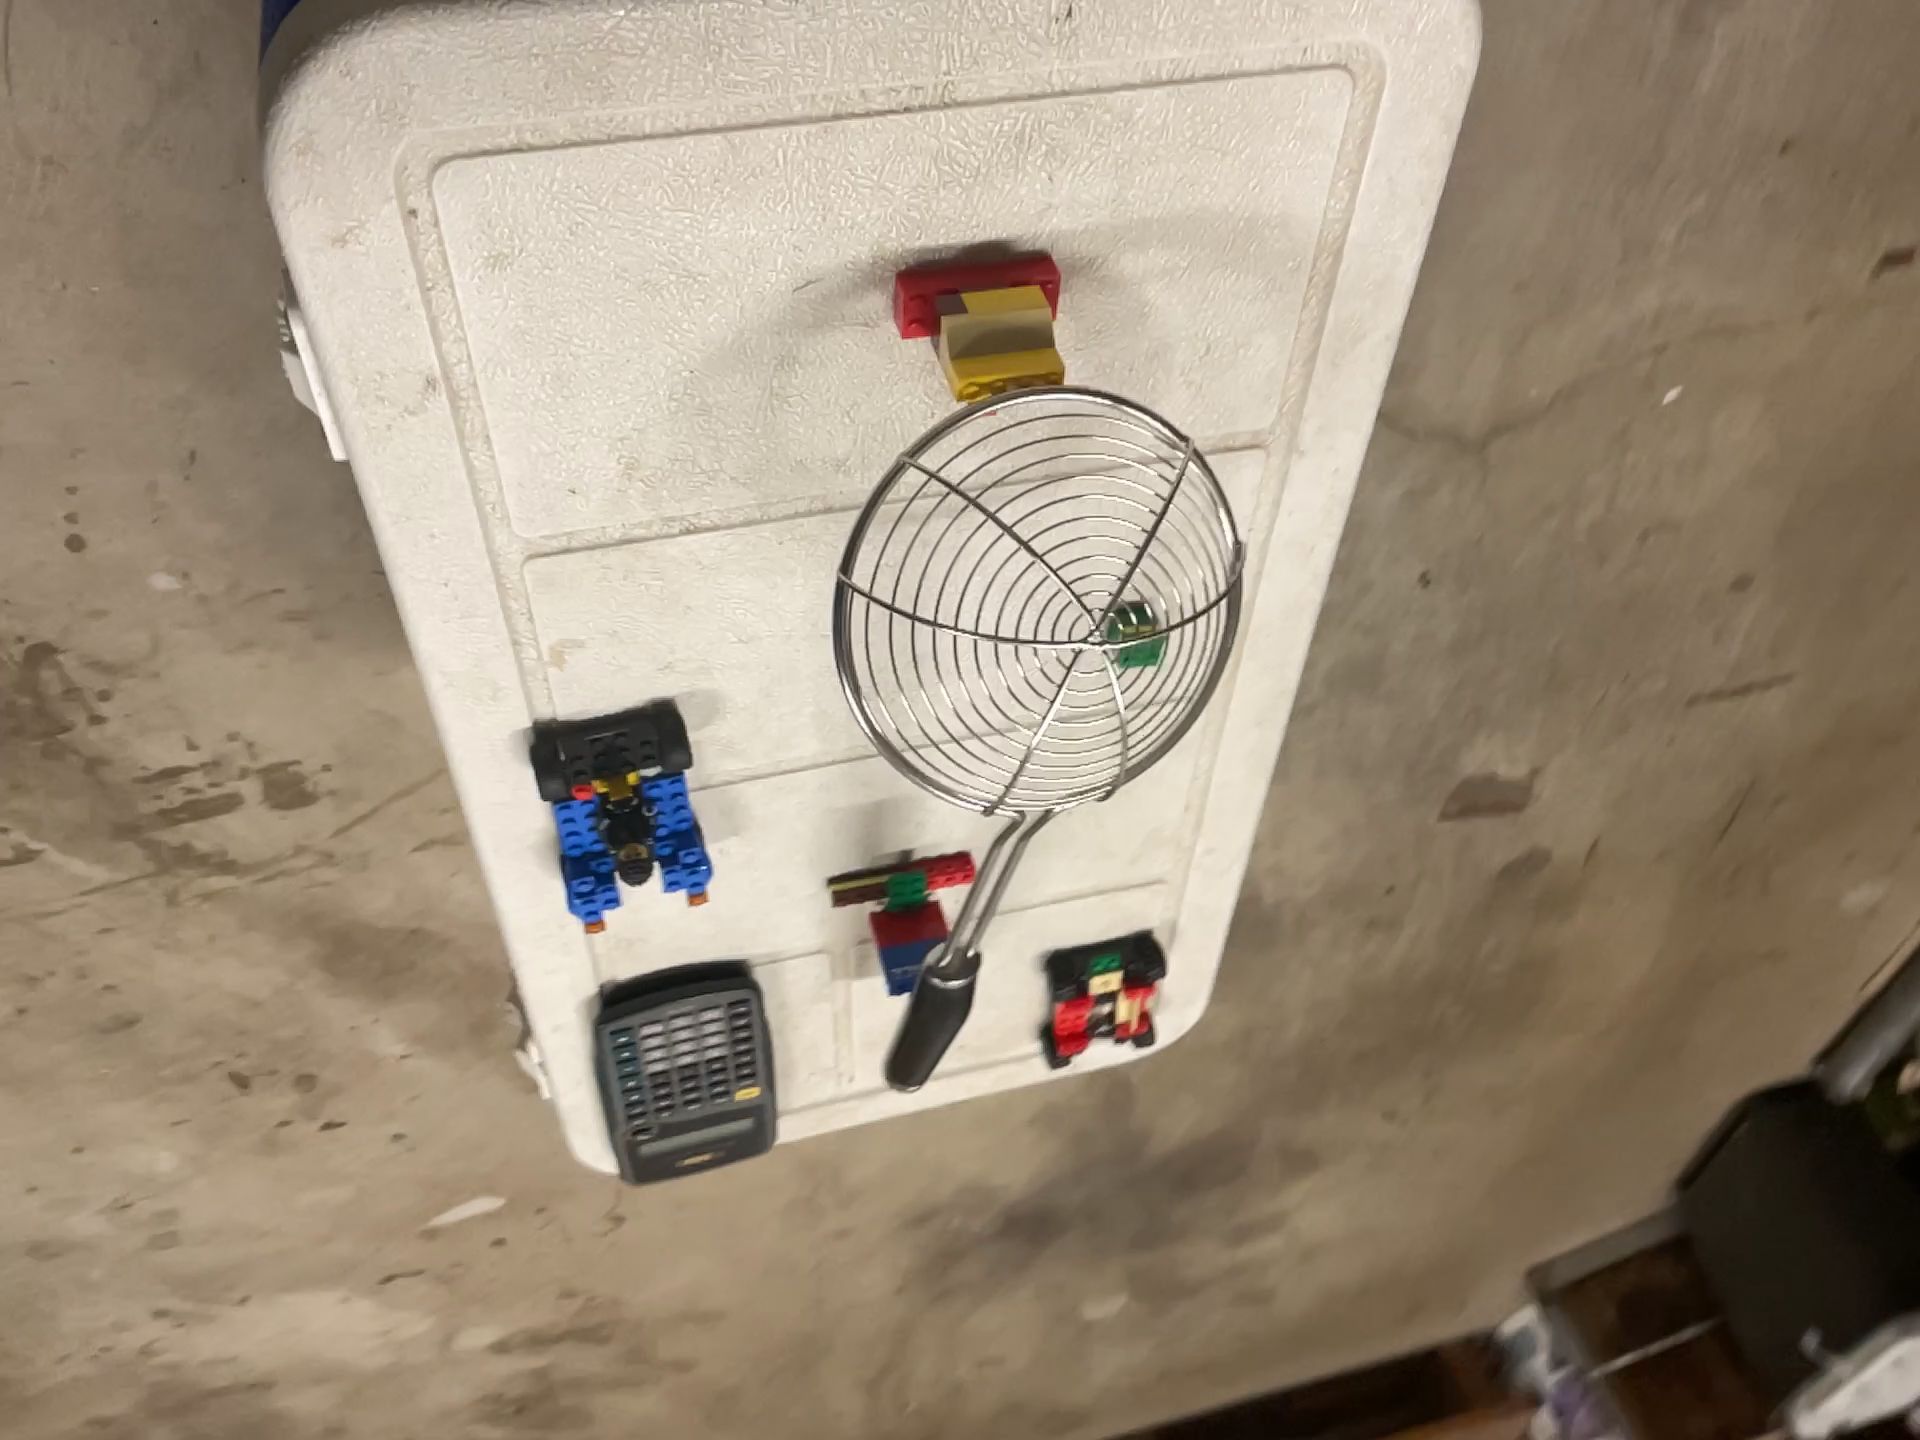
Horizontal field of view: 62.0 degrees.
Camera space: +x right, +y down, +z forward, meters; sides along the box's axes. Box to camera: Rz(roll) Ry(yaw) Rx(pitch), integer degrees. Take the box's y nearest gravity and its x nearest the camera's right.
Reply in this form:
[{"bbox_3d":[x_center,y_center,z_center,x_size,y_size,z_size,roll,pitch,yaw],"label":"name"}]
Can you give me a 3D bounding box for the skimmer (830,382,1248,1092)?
[{"bbox_3d":[0.002,0.036,0.572,0.127,0.090,0.362,-7,151,-16],"label":"skimmer"}]
